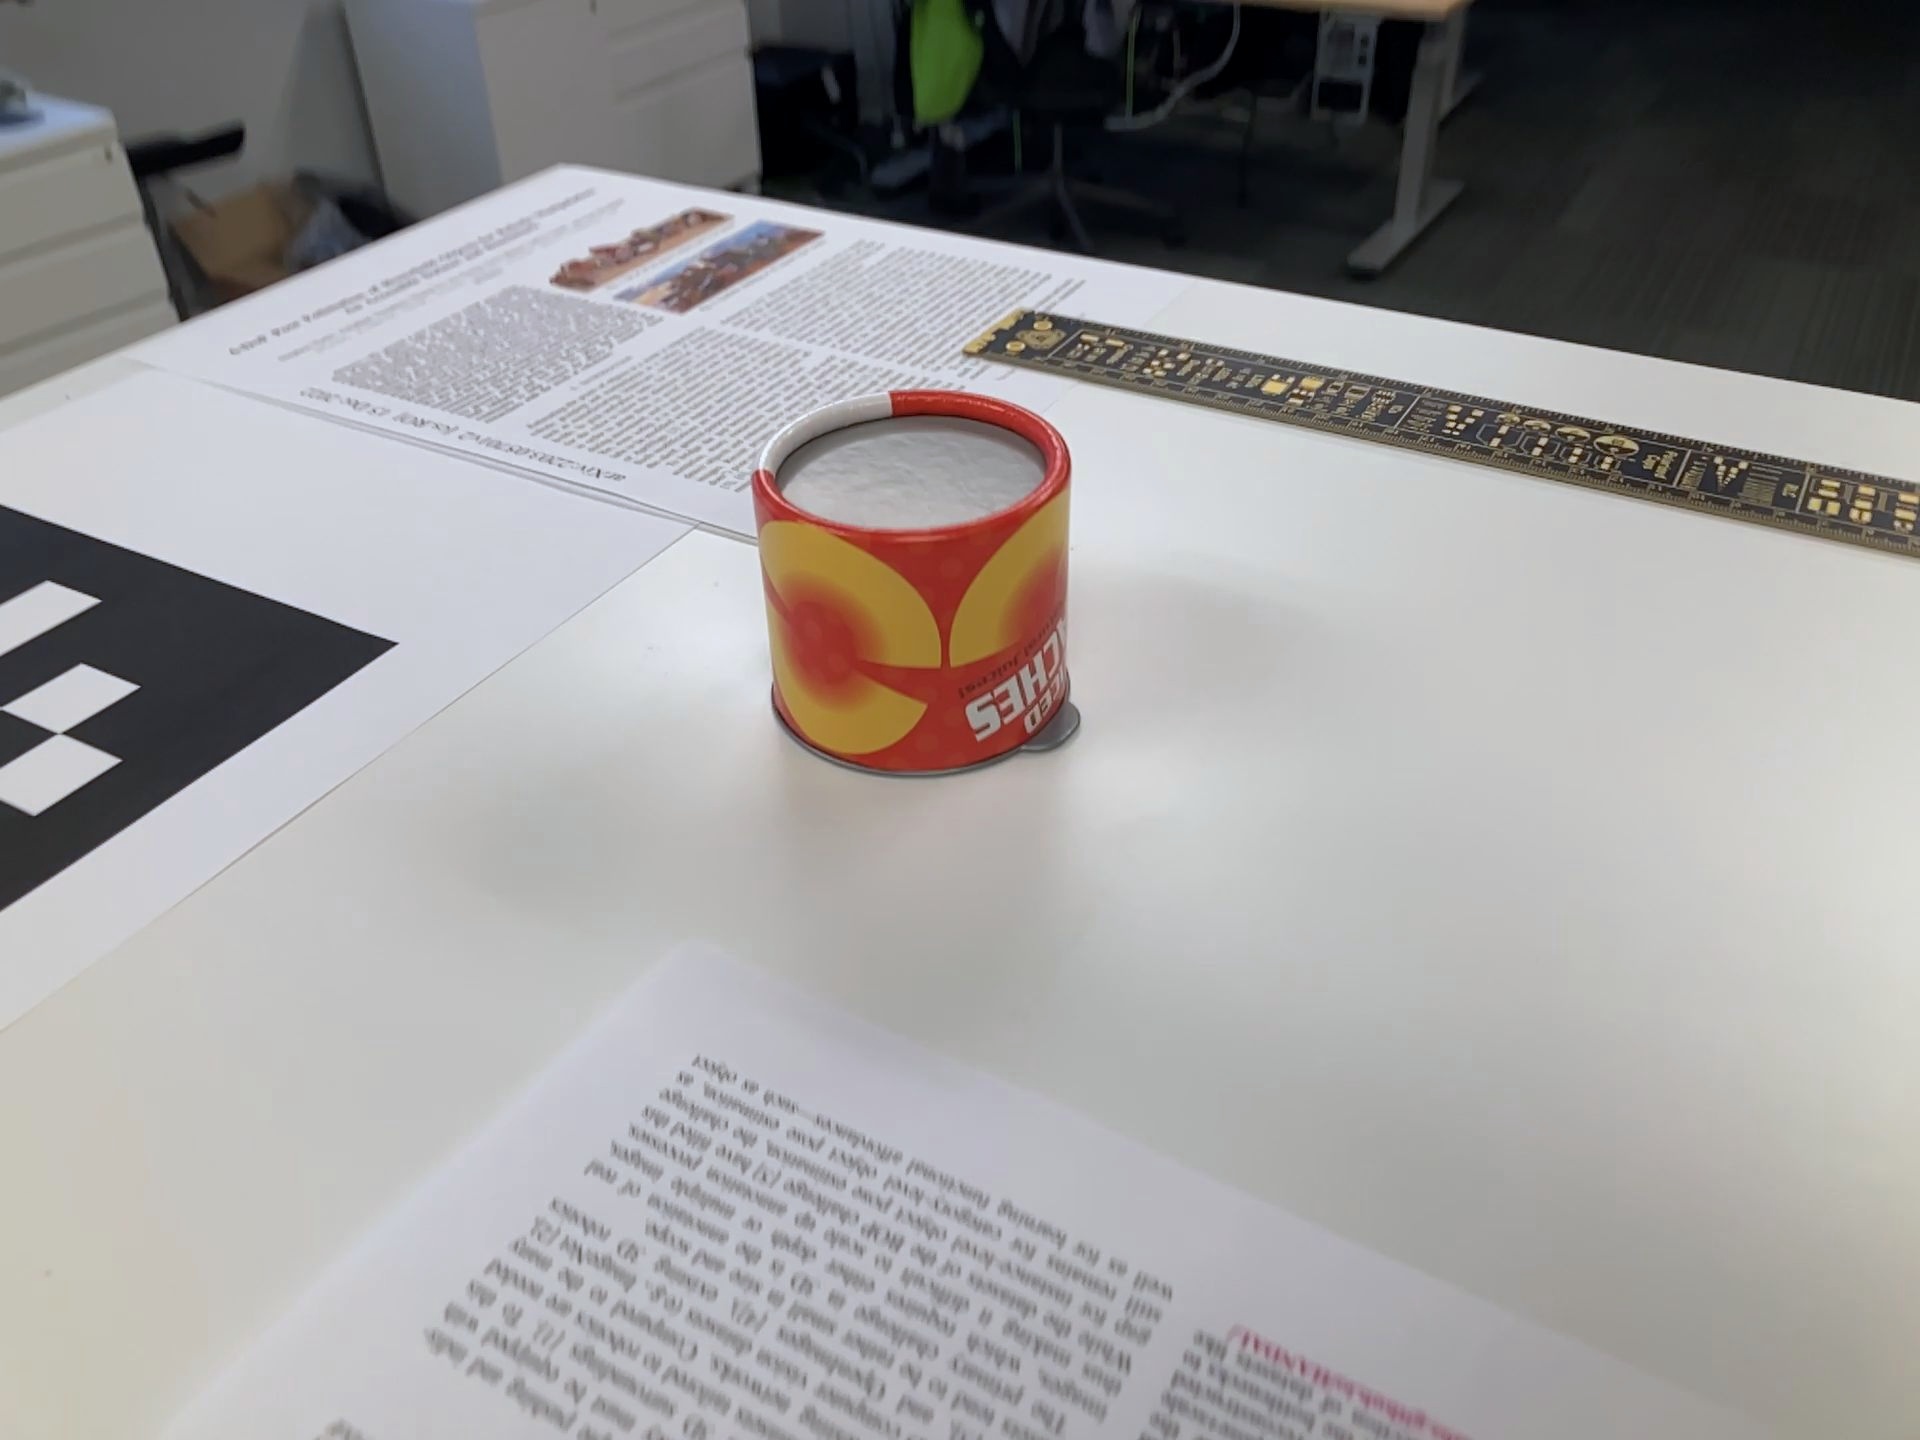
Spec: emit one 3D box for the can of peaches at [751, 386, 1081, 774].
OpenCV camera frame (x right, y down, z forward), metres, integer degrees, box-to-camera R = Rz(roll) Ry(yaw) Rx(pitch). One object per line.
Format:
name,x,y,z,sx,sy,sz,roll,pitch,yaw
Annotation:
can of peaches,-0.007,-0.031,0.335,0.071,0.058,0.071,-1,35,1
